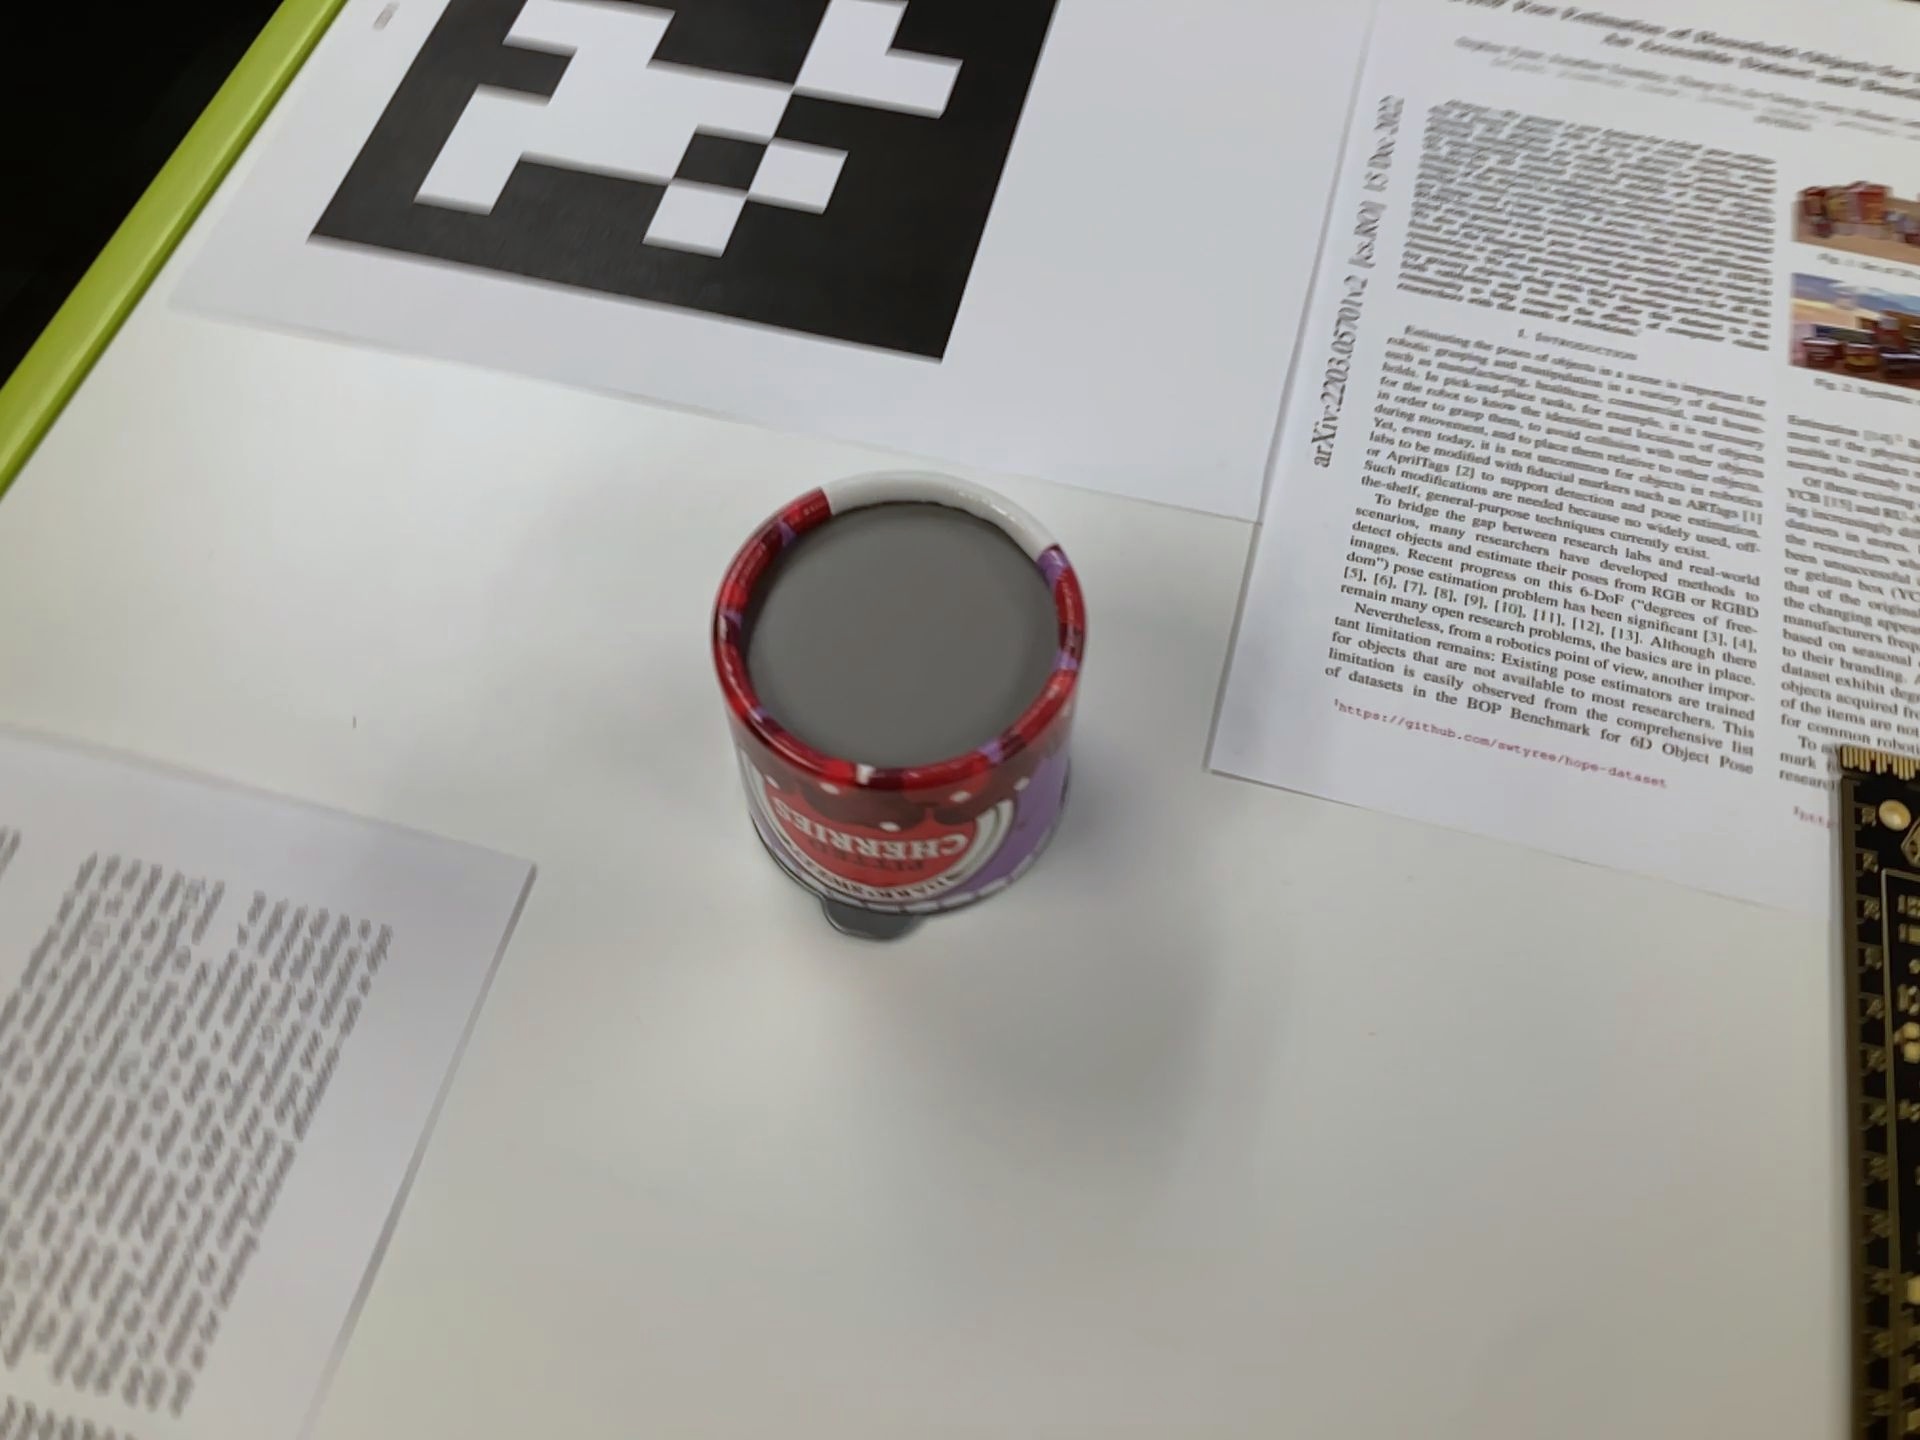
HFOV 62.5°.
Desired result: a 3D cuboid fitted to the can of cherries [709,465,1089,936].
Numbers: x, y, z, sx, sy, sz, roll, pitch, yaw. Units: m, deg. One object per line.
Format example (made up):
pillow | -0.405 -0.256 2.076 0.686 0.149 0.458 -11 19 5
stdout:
can of cherries | -0.011 -0.002 0.293 0.071 0.058 0.071 0 62 -1
